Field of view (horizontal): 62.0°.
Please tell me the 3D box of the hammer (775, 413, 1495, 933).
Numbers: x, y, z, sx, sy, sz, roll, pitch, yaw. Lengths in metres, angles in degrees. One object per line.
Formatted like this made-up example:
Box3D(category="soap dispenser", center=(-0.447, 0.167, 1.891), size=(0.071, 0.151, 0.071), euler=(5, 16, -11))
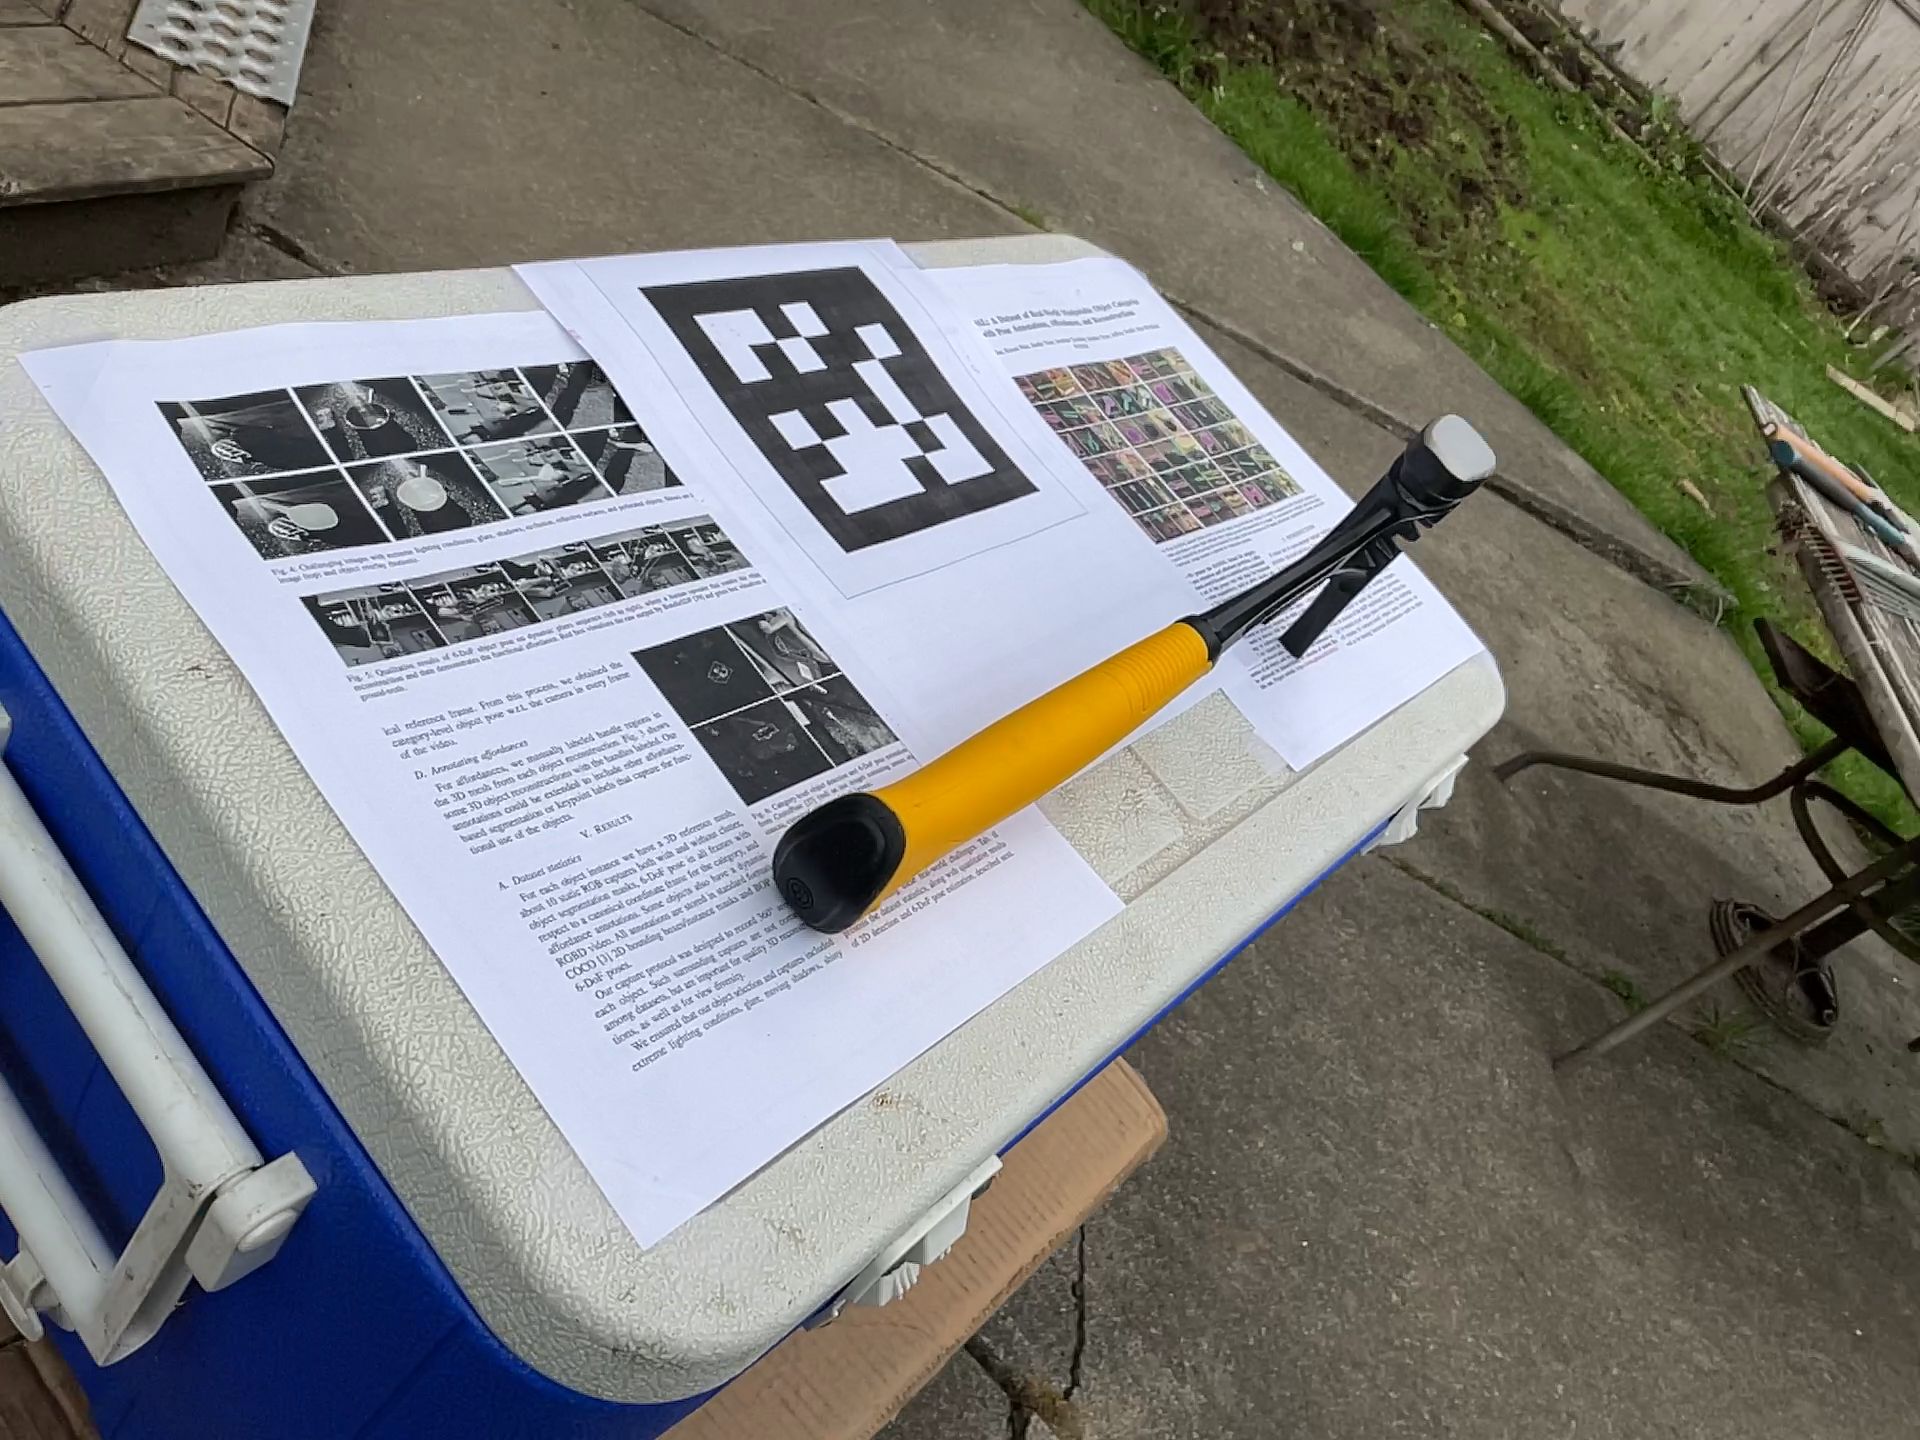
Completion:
Box3D(category="hammer", center=(0.064, -0.015, 0.548), size=(0.337, 0.127, 0.034), euler=(-30, 75, -41))
